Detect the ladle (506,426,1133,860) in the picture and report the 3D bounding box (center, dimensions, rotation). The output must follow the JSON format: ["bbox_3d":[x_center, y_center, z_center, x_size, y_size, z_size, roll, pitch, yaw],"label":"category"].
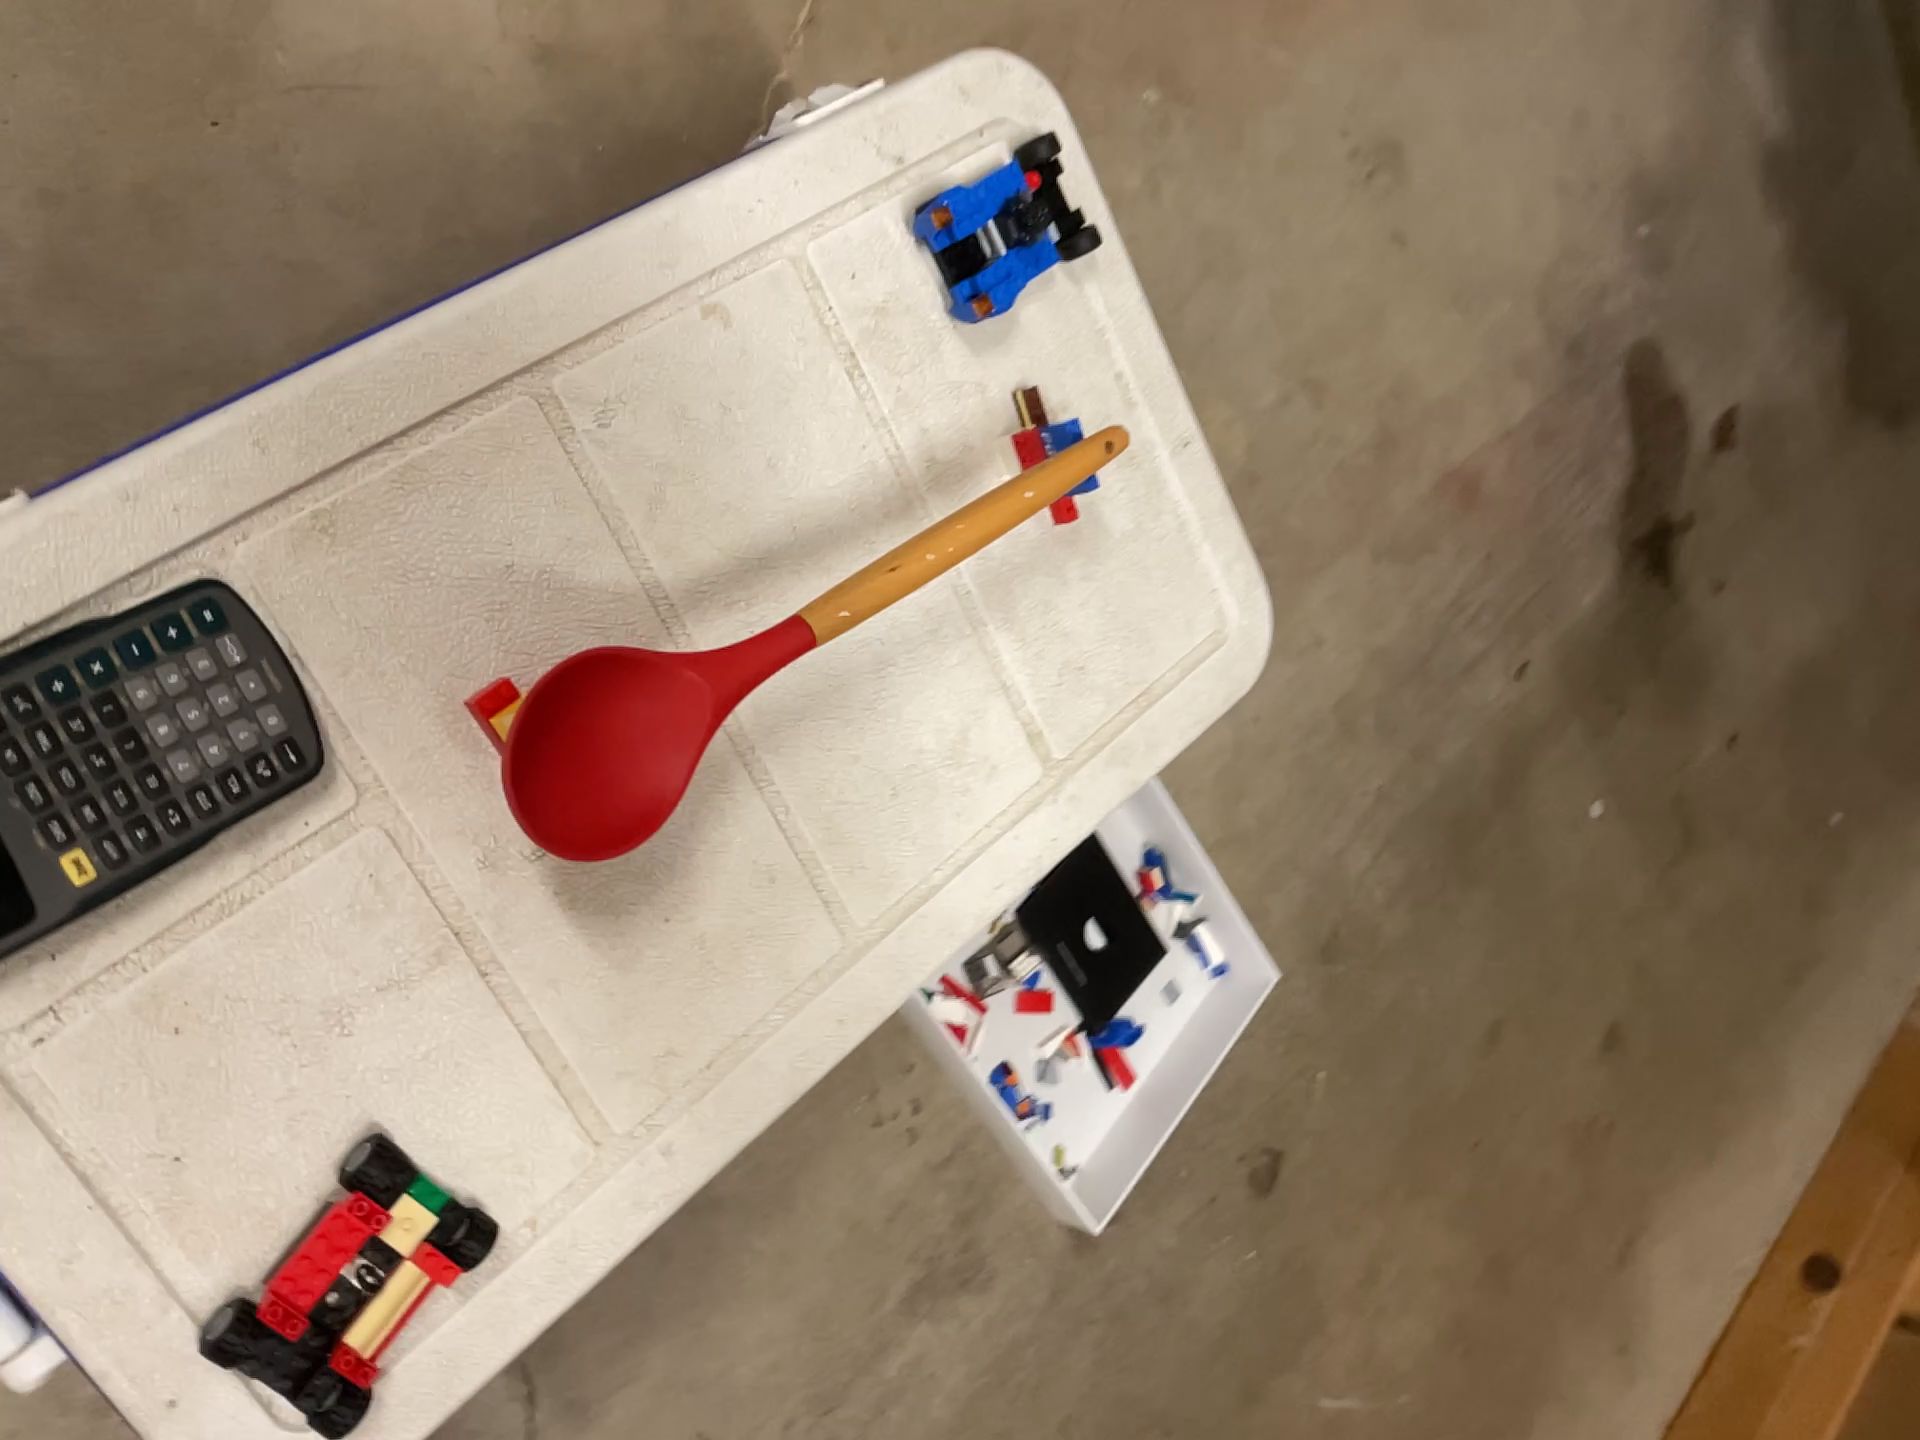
[{"bbox_3d":[-0.039,-0.047,0.603,0.315,0.031,0.069,-35,115,-32],"label":"ladle"}]
